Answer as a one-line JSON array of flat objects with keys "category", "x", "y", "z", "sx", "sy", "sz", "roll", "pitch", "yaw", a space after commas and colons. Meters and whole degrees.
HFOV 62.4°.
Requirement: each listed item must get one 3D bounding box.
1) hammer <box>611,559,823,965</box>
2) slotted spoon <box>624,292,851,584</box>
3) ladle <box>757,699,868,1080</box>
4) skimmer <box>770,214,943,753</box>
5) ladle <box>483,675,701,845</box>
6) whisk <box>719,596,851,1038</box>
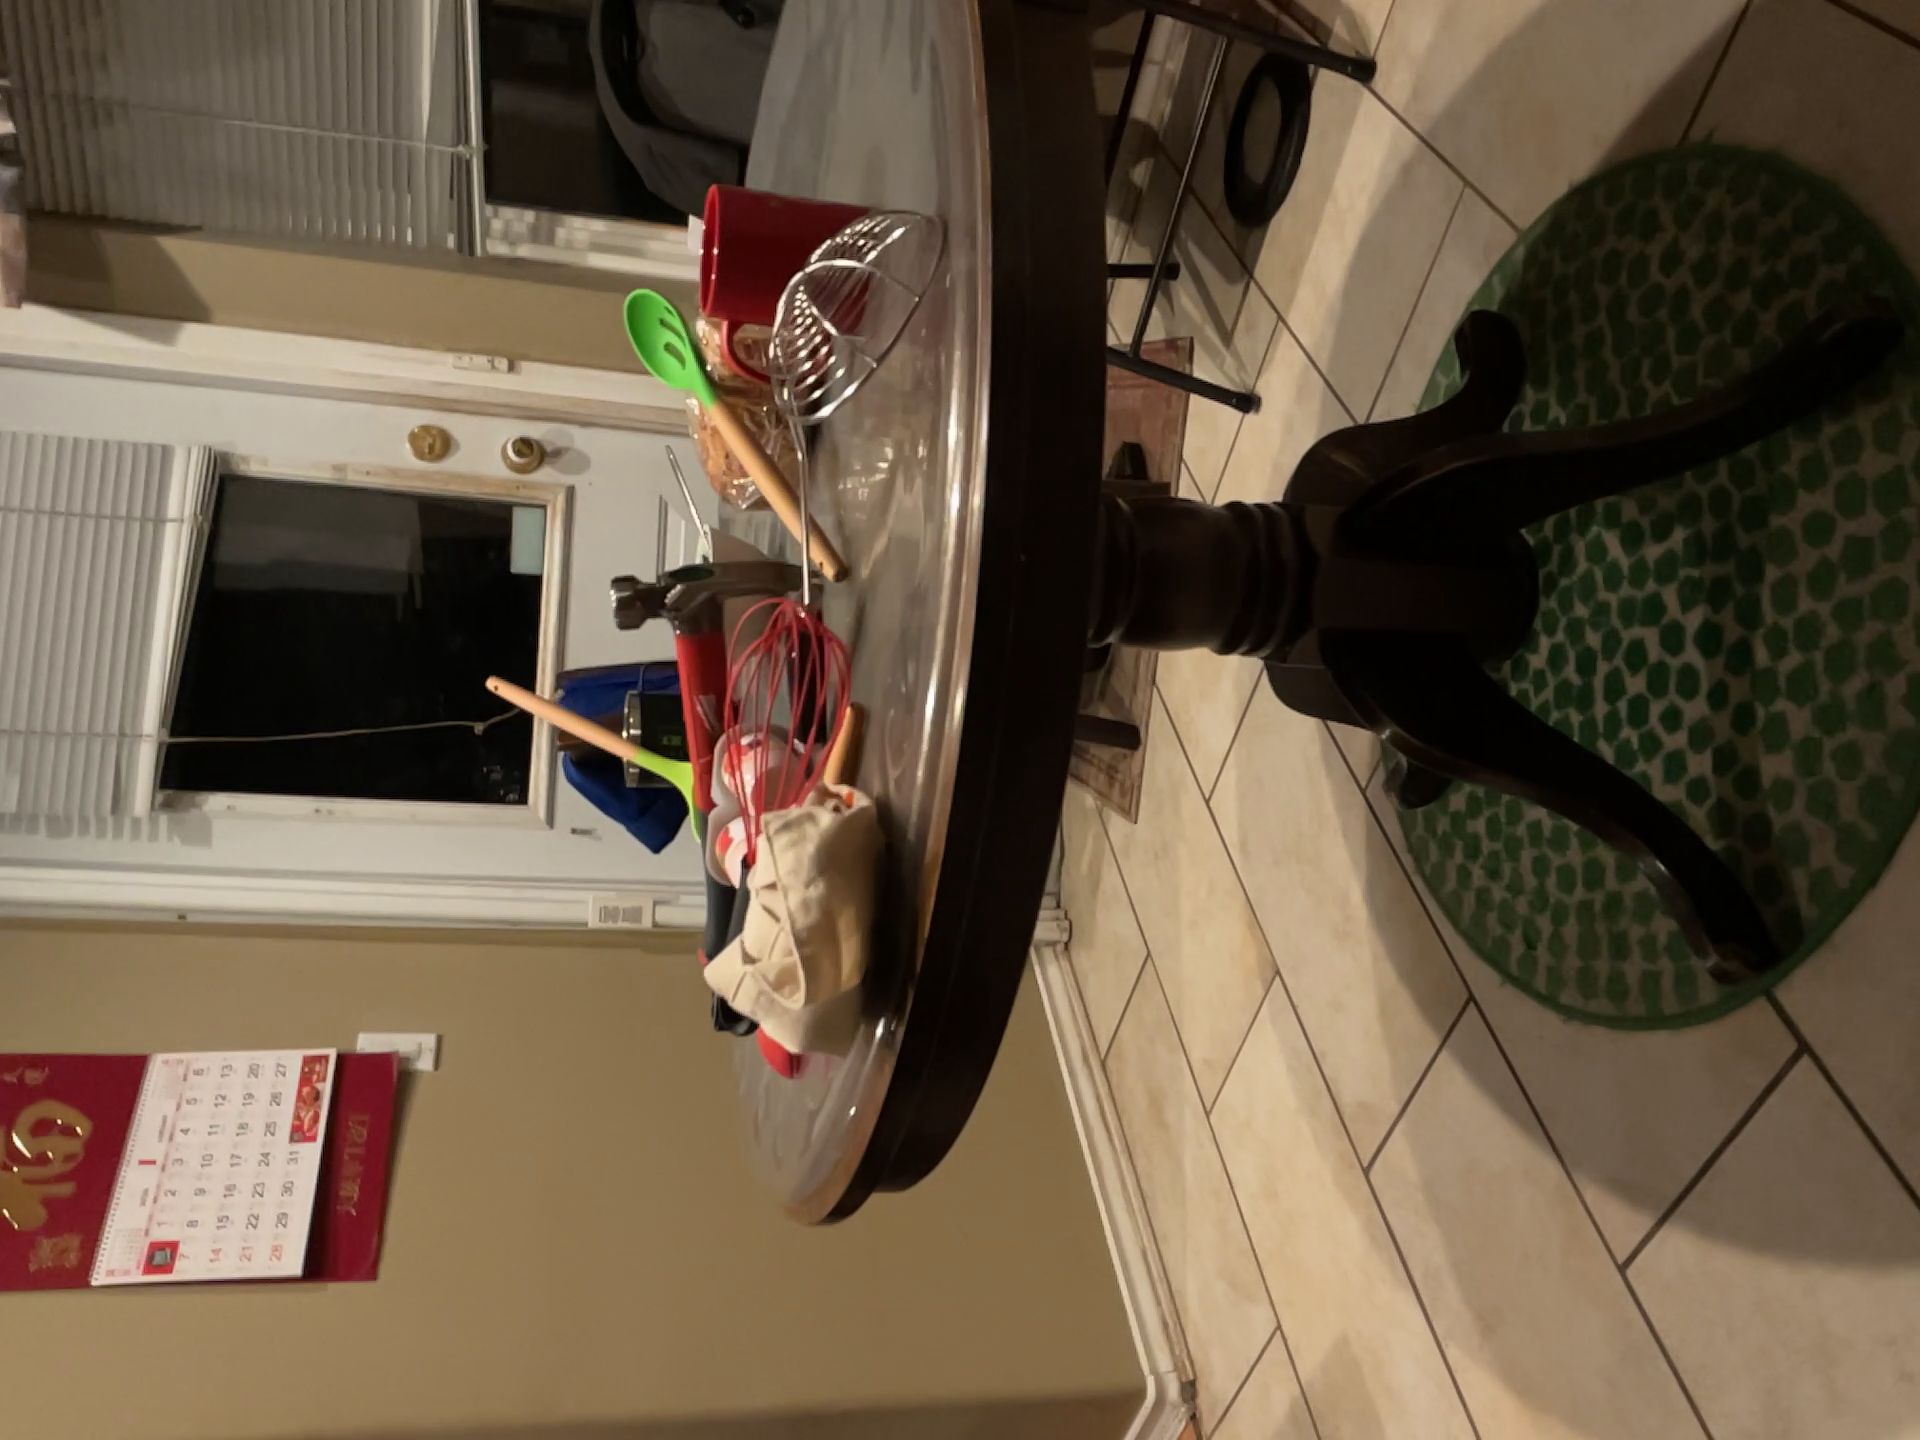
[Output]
[{"category": "hammer", "x": -0.166, "y": 0.051, "z": 1.195, "sx": 0.038, "sy": 0.143, "sz": 0.386, "roll": -105, "pitch": 12, "yaw": -51}, {"category": "slotted spoon", "x": -0.154, "y": -0.196, "z": 1.087, "sx": 0.314, "sy": 0.031, "sz": 0.070, "roll": 53, "pitch": 148, "yaw": 32}, {"category": "ladle", "x": -0.096, "y": 0.116, "z": 1.021, "sx": 0.069, "sy": 0.031, "sz": 0.315, "roll": -108, "pitch": 28, "yaw": -51}, {"category": "skimmer", "x": -0.060, "y": -0.116, "z": 0.925, "sx": 0.127, "sy": 0.090, "sz": 0.363, "roll": -92, "pitch": 4, "yaw": -47}, {"category": "ladle", "x": -0.316, "y": 0.023, "z": 1.415, "sx": 0.062, "sy": 0.320, "sz": 0.078, "roll": -8, "pitch": -61, "yaw": -63}, {"category": "whisk", "x": -0.109, "y": 0.064, "z": 0.892, "sx": 0.073, "sy": 0.073, "sz": 0.295, "roll": -114, "pitch": 30, "yaw": -56}]
